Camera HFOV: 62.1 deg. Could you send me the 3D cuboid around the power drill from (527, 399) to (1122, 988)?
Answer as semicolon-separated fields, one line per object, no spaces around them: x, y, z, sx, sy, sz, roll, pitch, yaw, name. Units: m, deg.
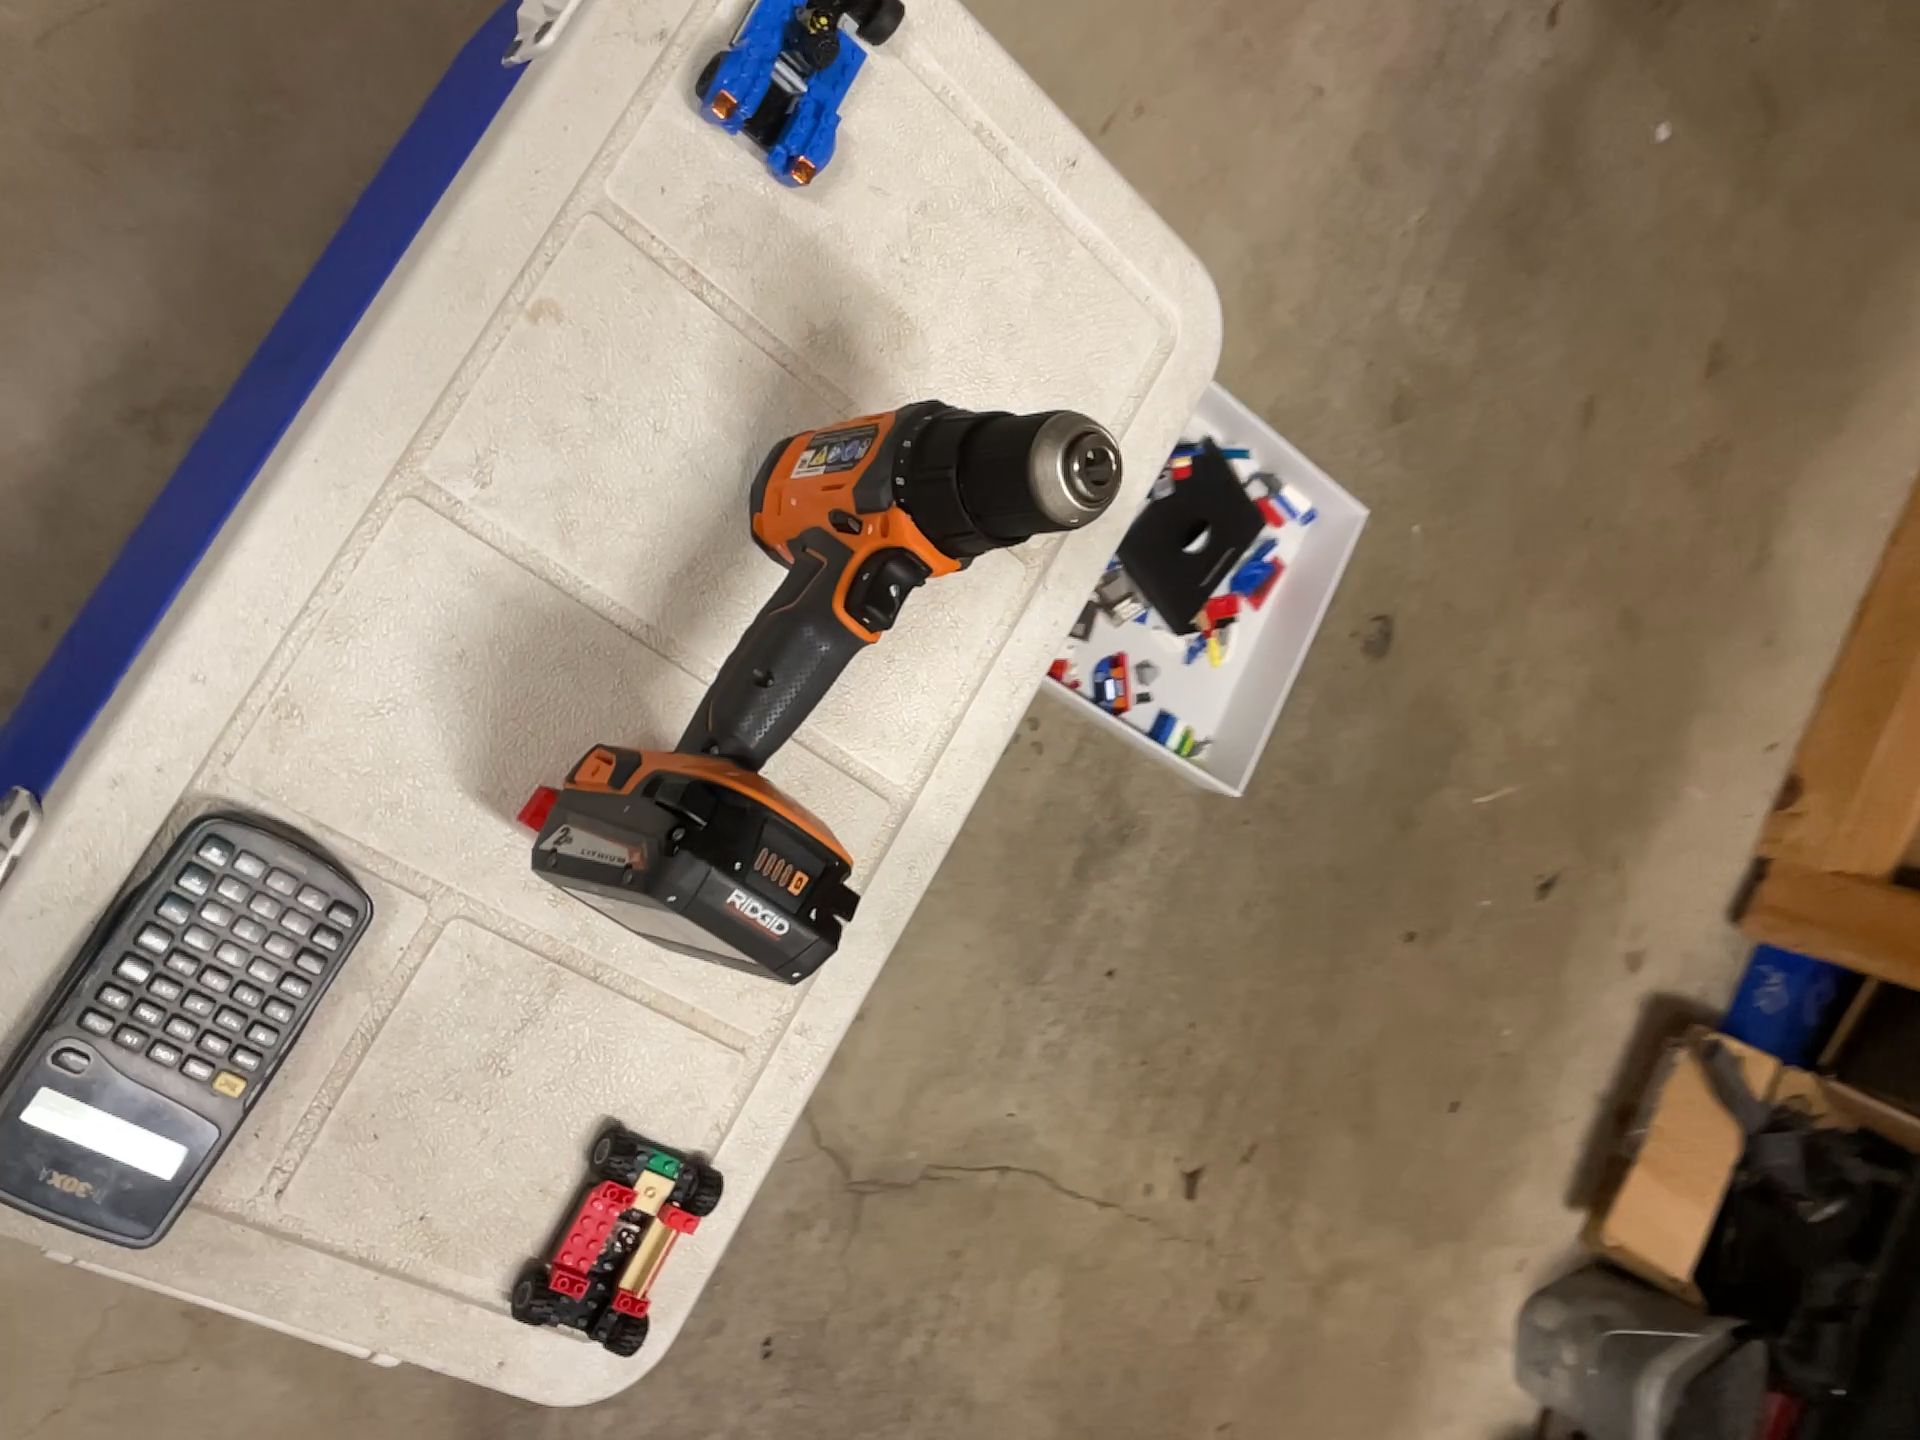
-0.045;-0.021;0.584;0.084;0.185;0.226;40;67;-34;power drill
